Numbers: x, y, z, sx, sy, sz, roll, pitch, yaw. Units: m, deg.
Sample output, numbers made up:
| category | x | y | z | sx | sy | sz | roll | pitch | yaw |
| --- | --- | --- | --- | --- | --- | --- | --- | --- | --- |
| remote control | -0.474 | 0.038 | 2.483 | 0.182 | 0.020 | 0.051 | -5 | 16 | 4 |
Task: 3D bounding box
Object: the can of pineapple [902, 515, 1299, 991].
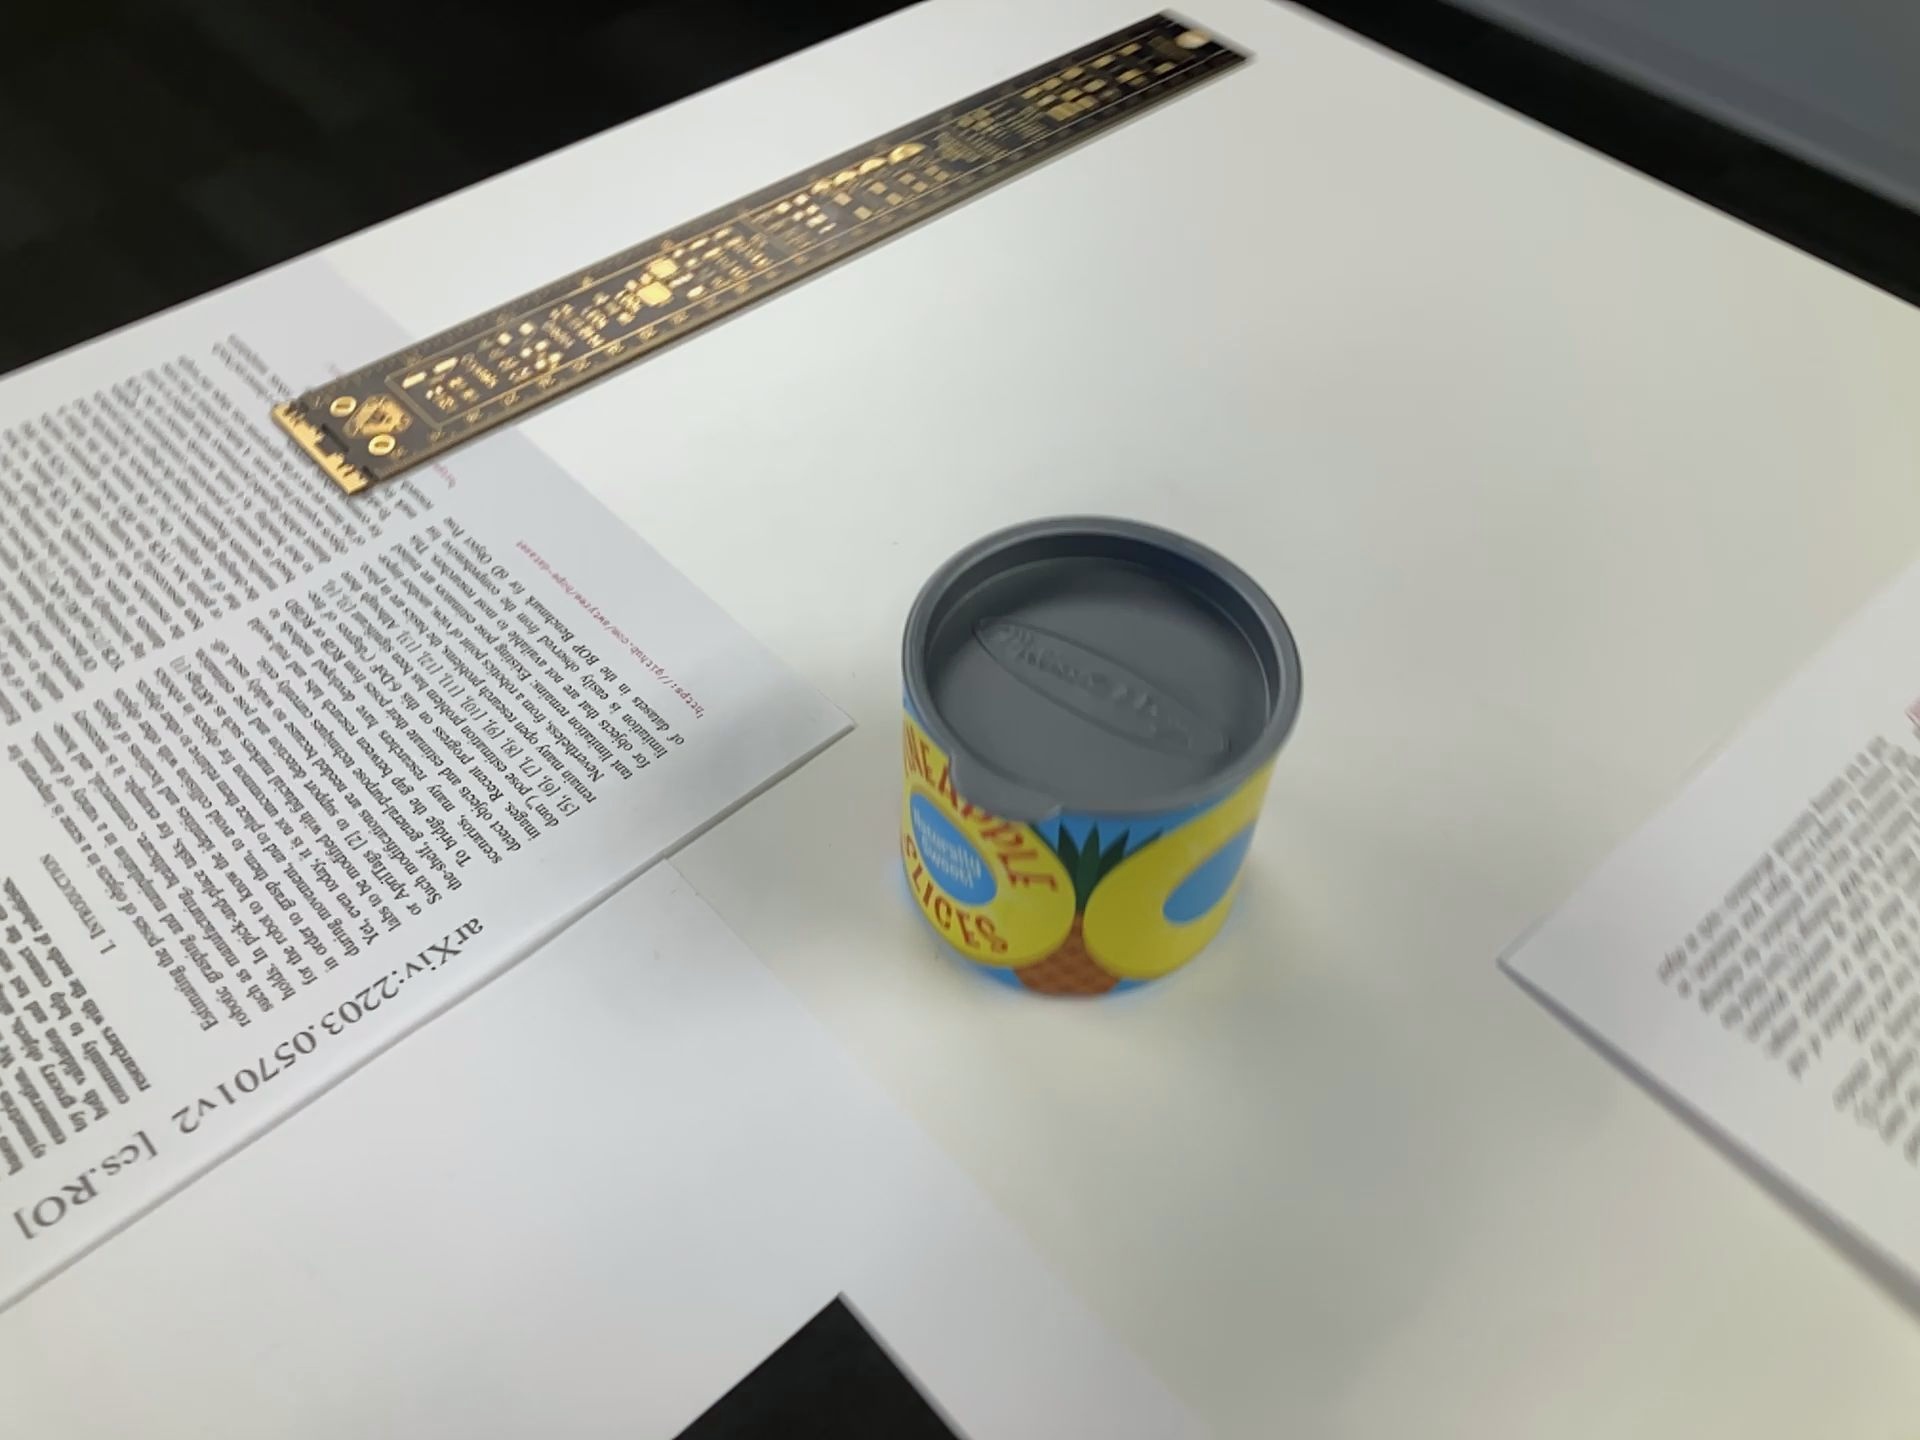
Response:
| category | x | y | z | sx | sy | sz | roll | pitch | yaw |
| --- | --- | --- | --- | --- | --- | --- | --- | --- | --- |
| can of pineapple | 0.021 | 0.007 | 0.284 | 0.071 | 0.058 | 0.071 | 1 | 50 | -1 |
